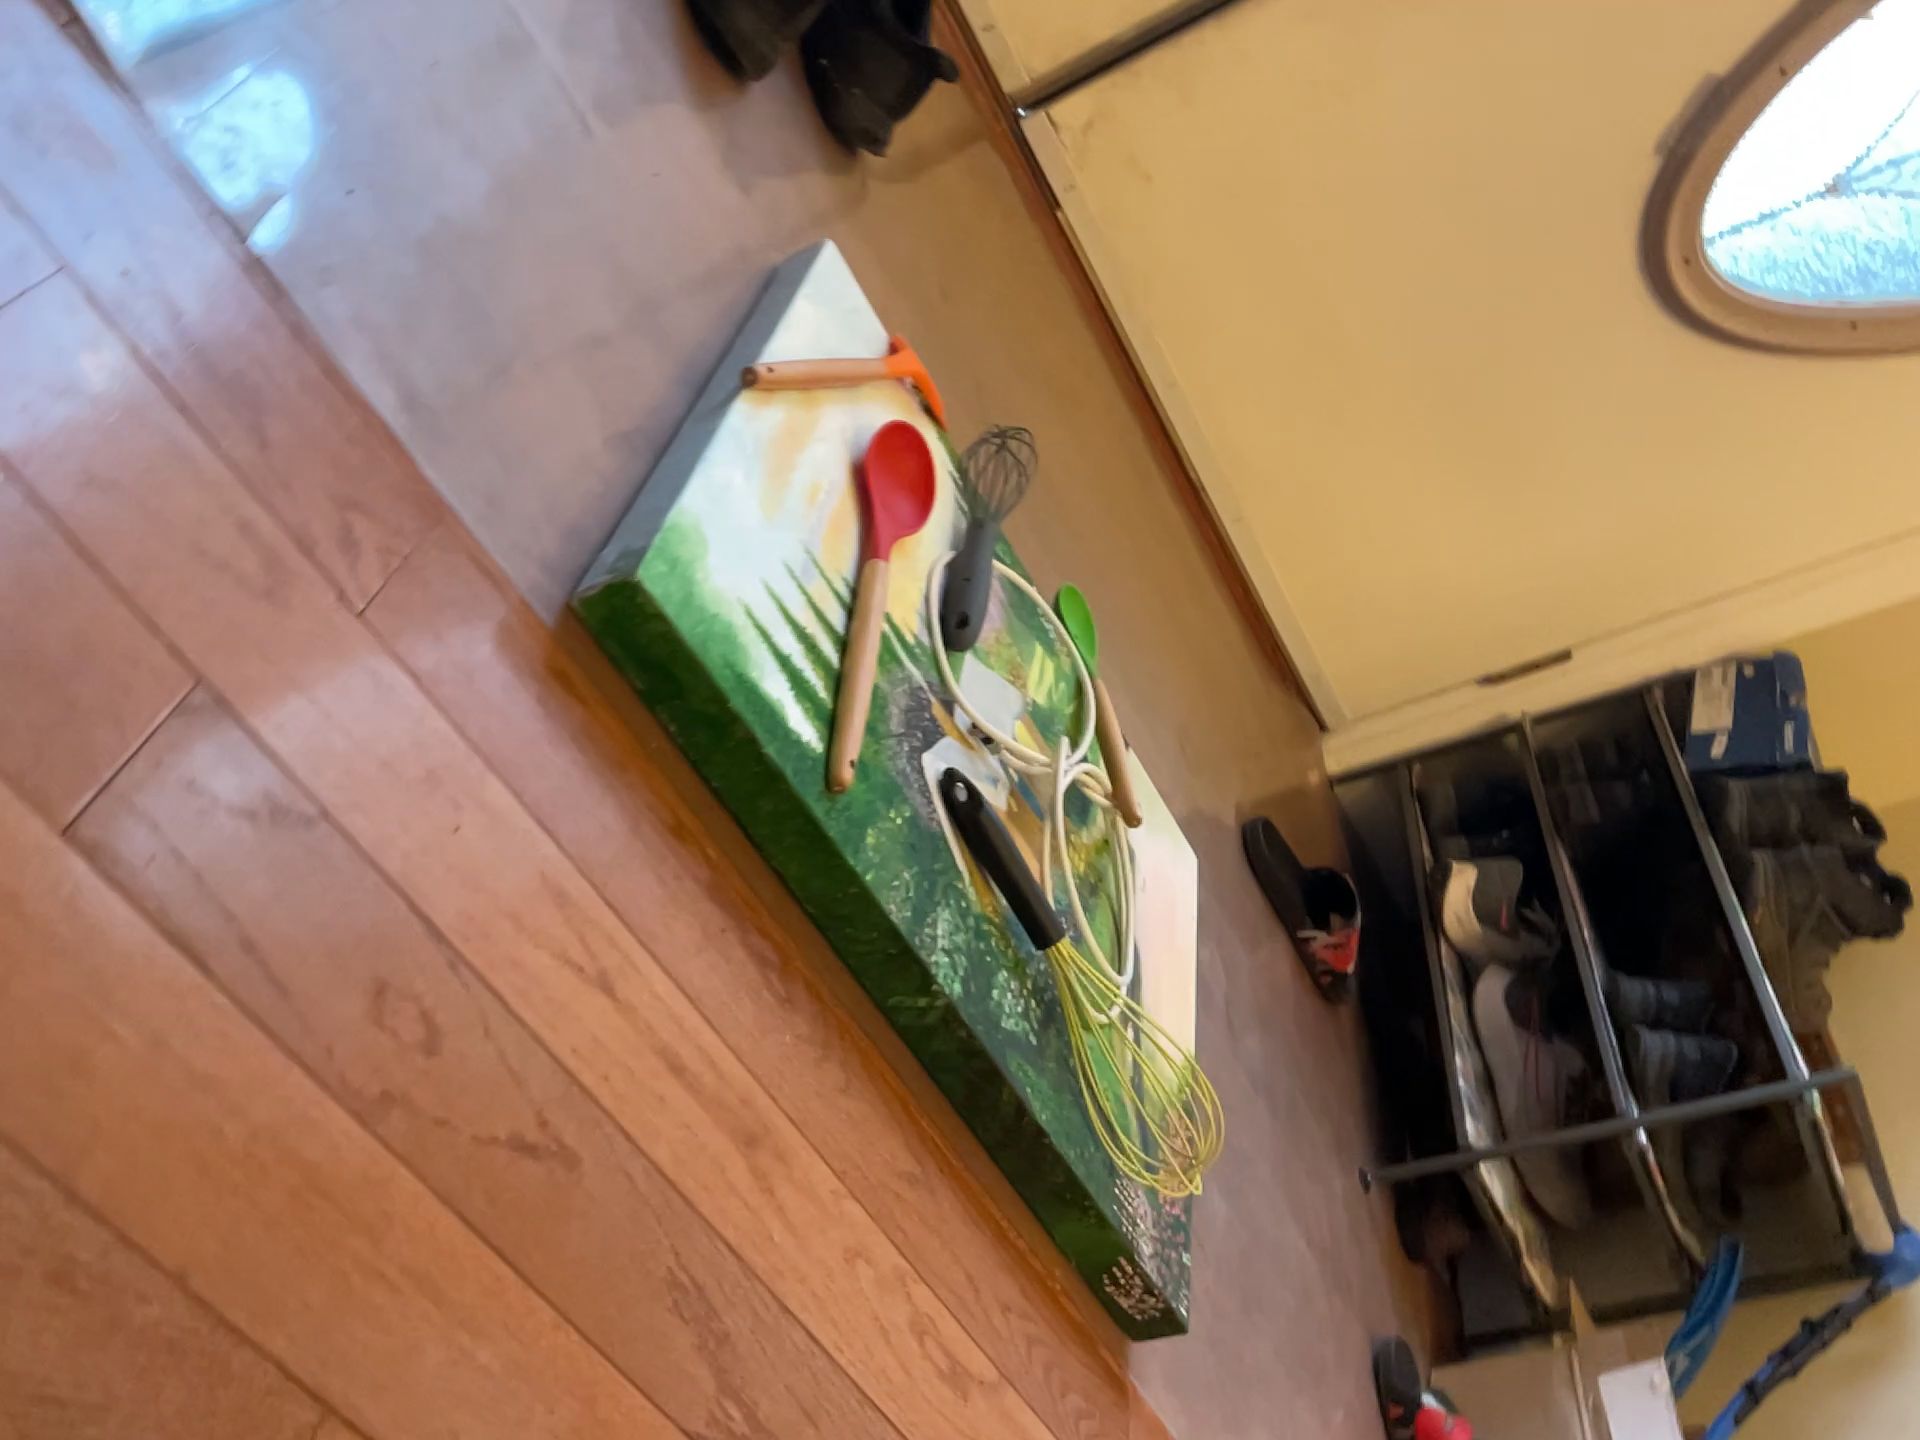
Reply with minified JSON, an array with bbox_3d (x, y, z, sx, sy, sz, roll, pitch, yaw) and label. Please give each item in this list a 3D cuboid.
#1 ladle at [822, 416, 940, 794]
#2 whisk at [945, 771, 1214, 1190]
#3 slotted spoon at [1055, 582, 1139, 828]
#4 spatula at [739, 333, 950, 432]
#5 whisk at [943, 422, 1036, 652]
[{"bbox_3d":[-0.050,-0.075,0.939,0.069,0.031,0.316,52,31,-35],"label":"ladle"},{"bbox_3d":[0.071,0.164,0.985,0.311,0.067,0.080,59,18,-9],"label":"whisk"},{"bbox_3d":[0.106,-0.015,1.229,0.070,0.031,0.314,56,14,-30],"label":"slotted spoon"},{"bbox_3d":[-0.070,-0.224,1.046,0.081,0.041,0.322,58,24,0],"label":"spatula"},{"bbox_3d":[0.018,-0.133,1.120,0.055,0.055,0.239,43,39,-29],"label":"whisk"}]
